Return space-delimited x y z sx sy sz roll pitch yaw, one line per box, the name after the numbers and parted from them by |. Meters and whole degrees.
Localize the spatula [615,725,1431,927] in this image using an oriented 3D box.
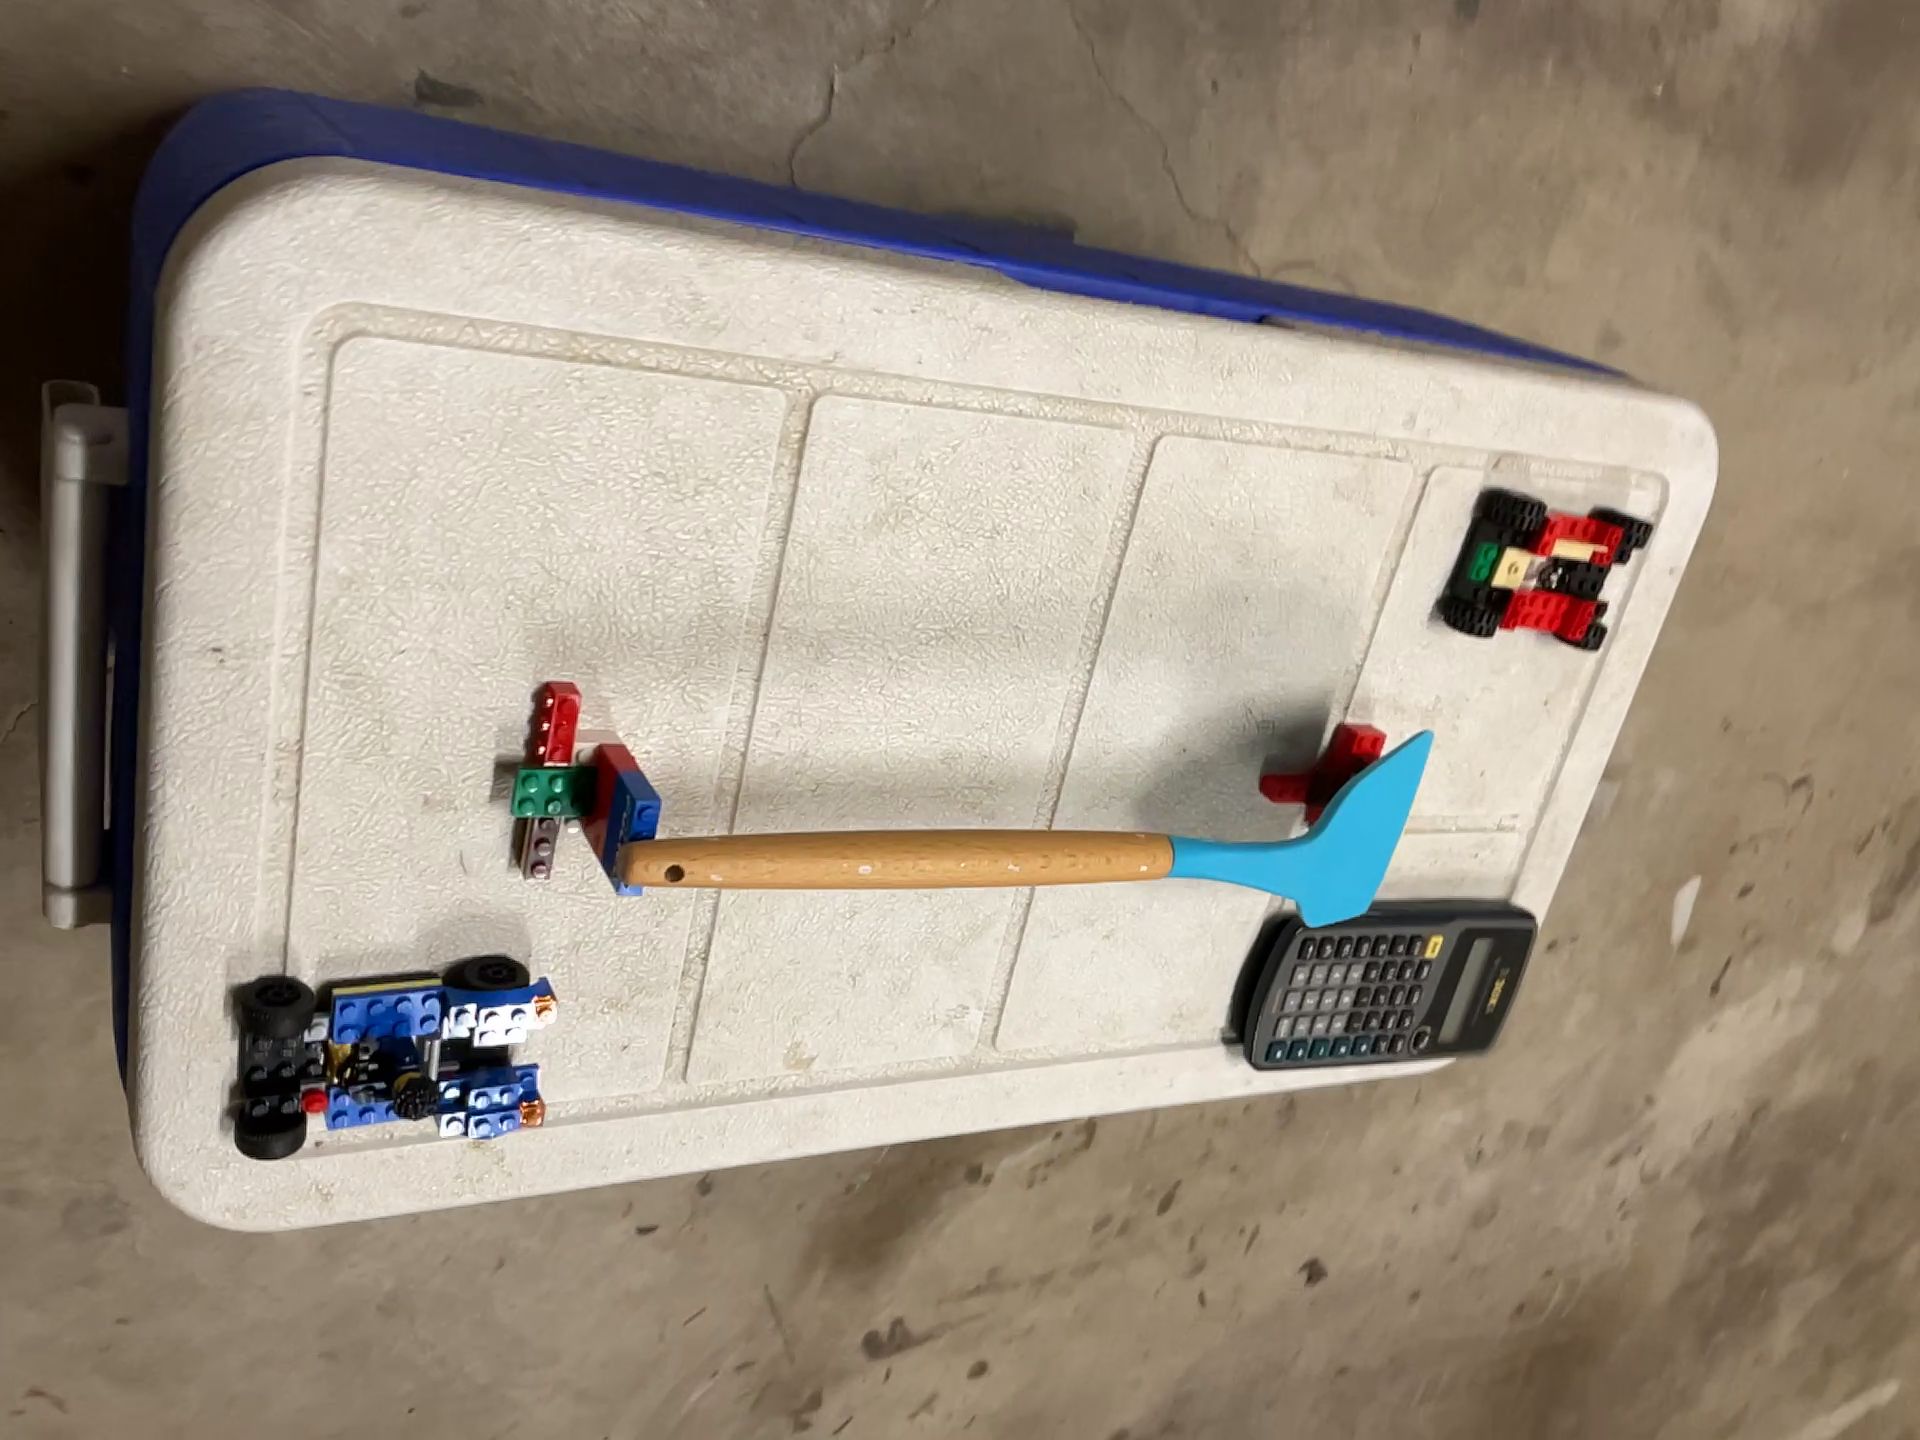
0.040 0.041 0.537 0.318 0.044 0.082 2 115 -27 | spatula
